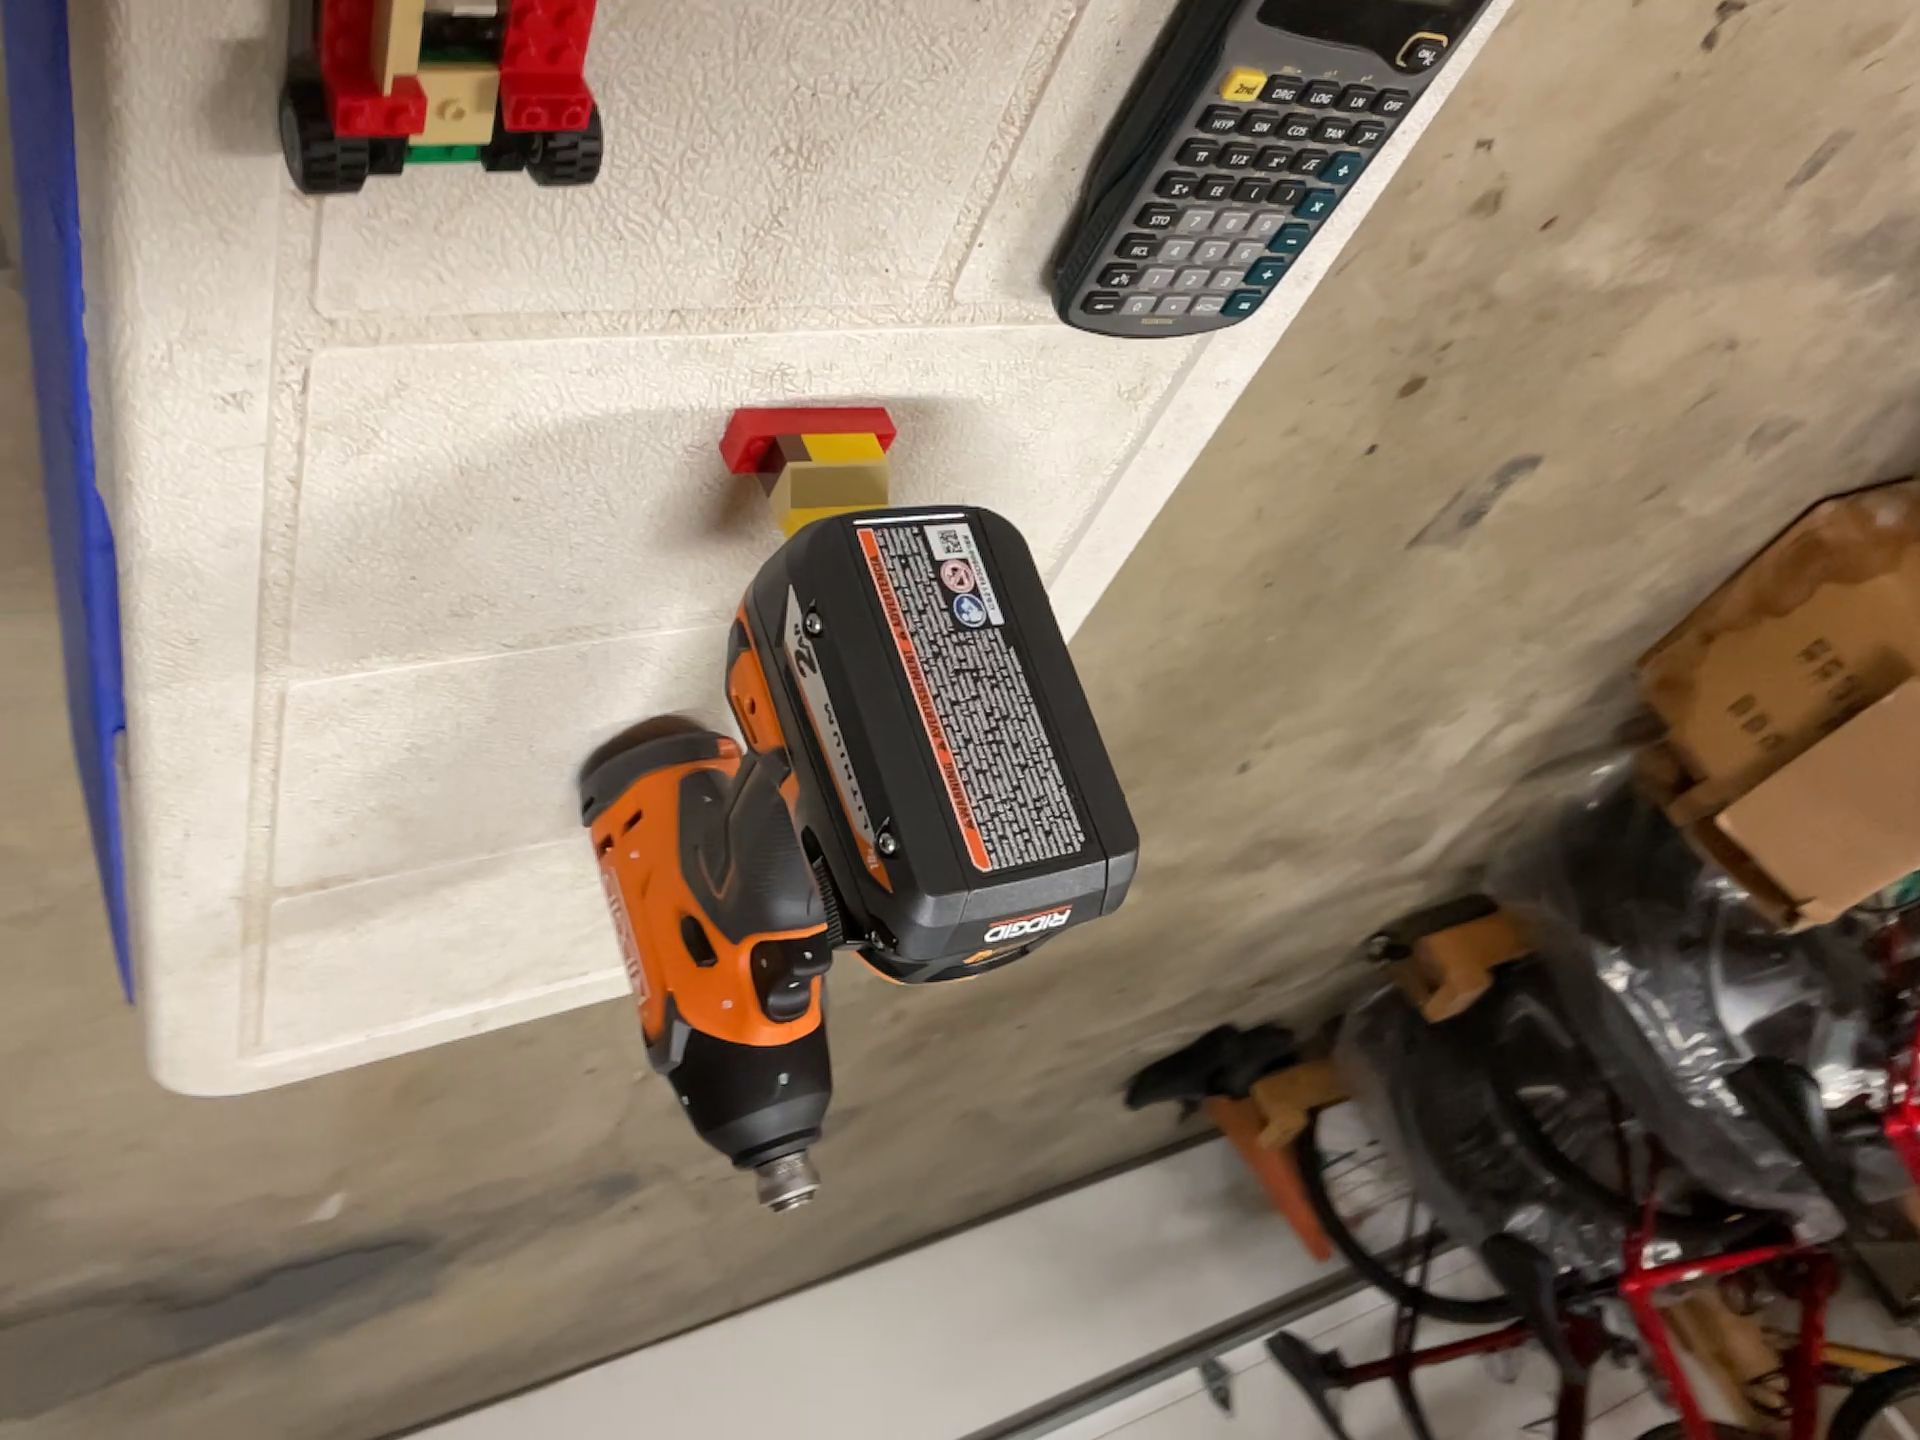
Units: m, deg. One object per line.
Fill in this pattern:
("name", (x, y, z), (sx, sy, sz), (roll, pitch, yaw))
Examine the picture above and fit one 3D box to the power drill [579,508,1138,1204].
("power drill", (-0.044, 0.053, 0.491), (0.084, 0.164, 0.226), (-9, 161, -34))
